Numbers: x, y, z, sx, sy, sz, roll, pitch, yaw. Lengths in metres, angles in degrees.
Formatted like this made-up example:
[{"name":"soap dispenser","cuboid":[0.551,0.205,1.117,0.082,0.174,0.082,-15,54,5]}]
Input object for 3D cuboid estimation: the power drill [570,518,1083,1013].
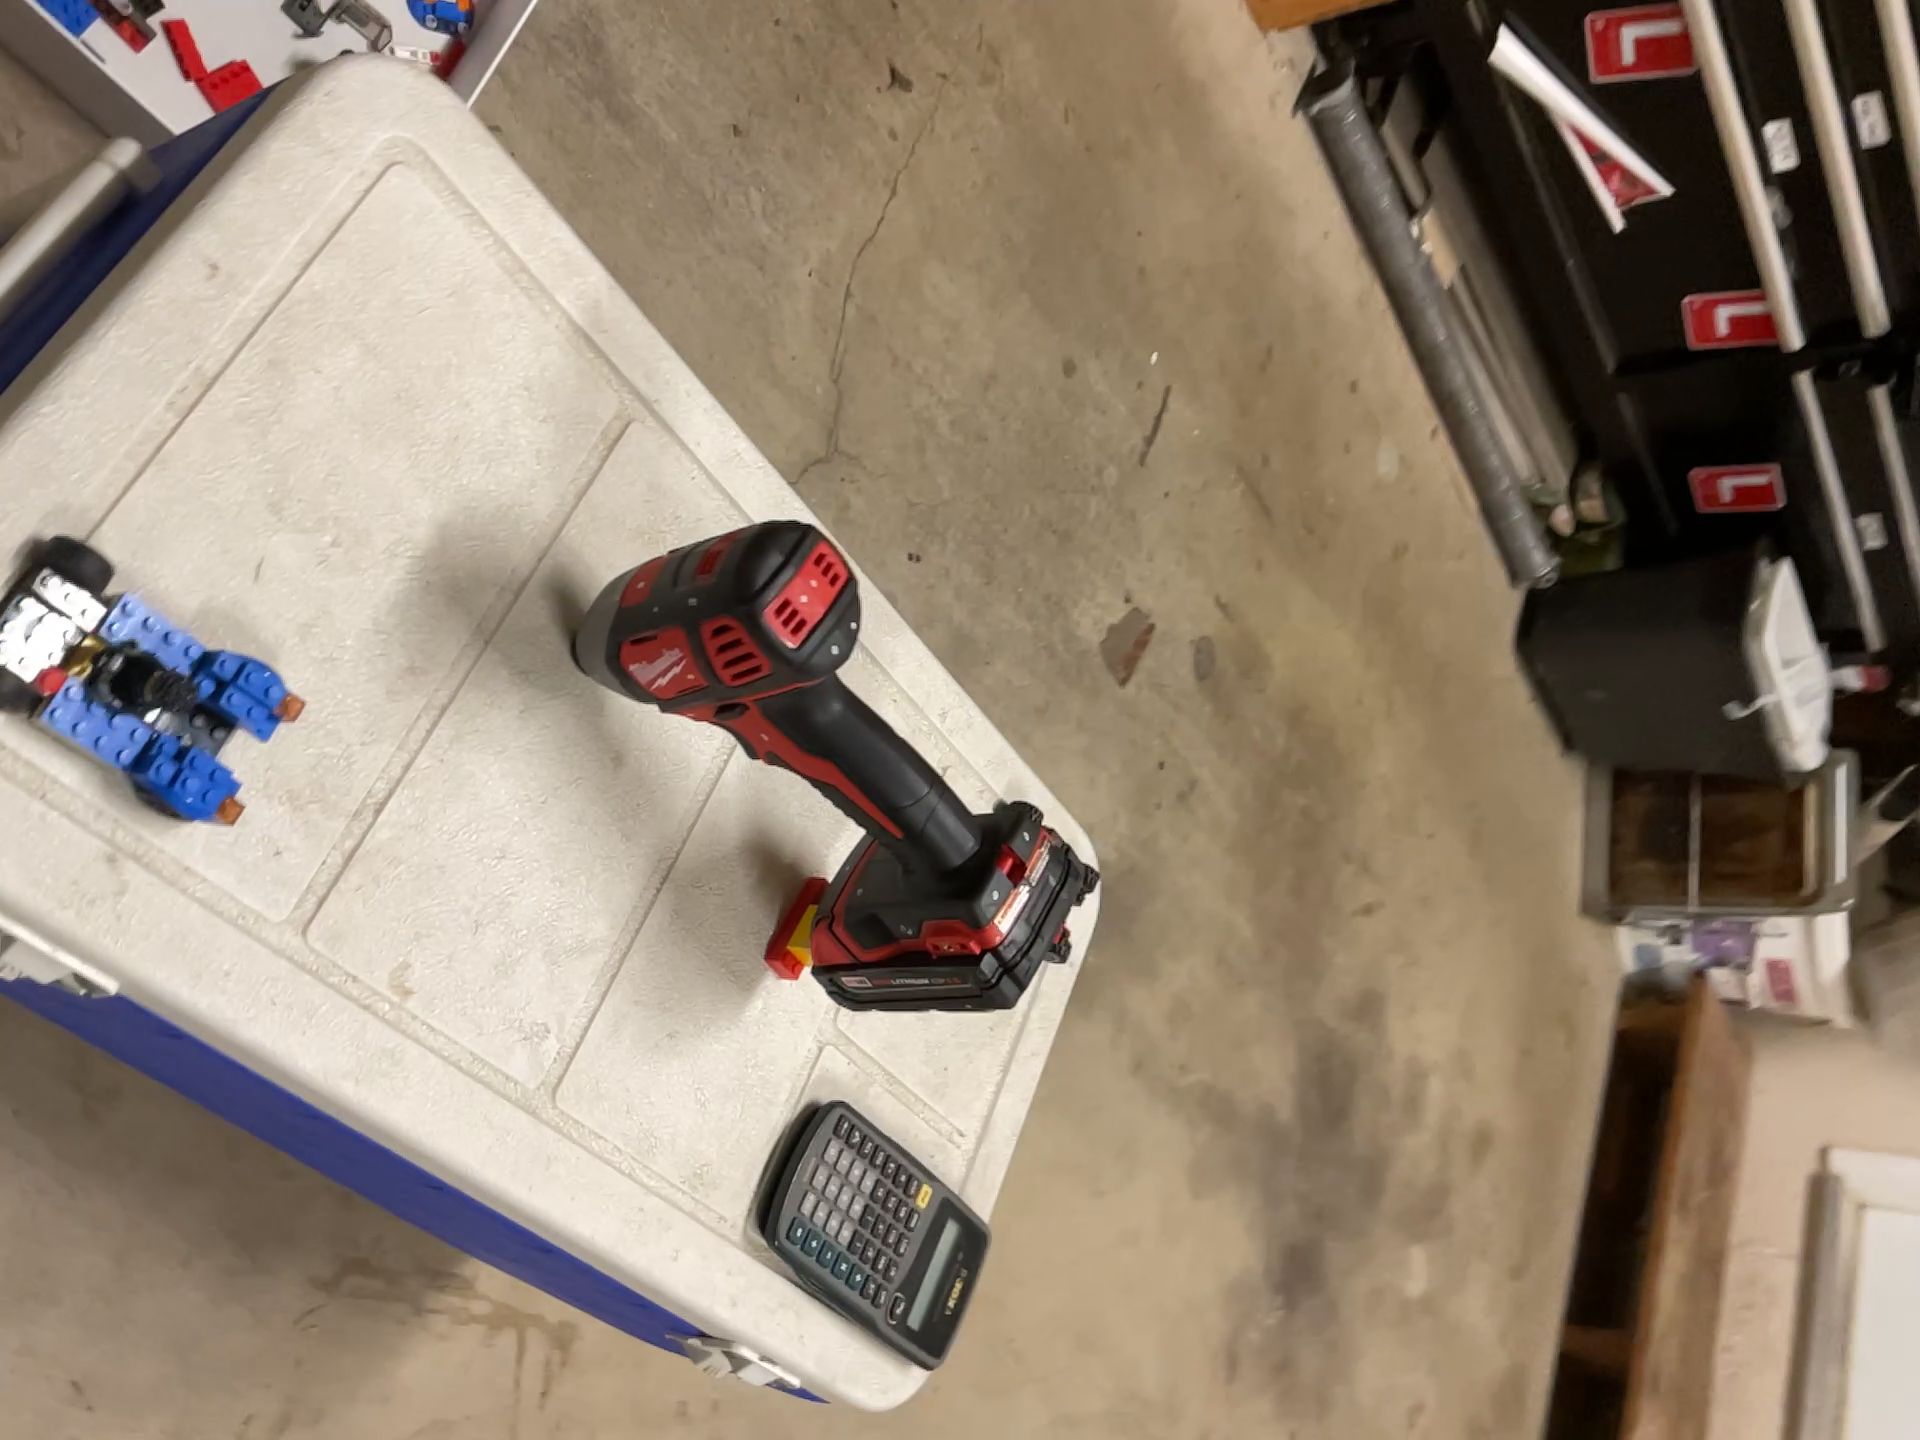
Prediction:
[{"name":"power drill","cuboid":[-0.060,0.020,0.648,0.219,0.143,0.079,53,49,-27]}]
